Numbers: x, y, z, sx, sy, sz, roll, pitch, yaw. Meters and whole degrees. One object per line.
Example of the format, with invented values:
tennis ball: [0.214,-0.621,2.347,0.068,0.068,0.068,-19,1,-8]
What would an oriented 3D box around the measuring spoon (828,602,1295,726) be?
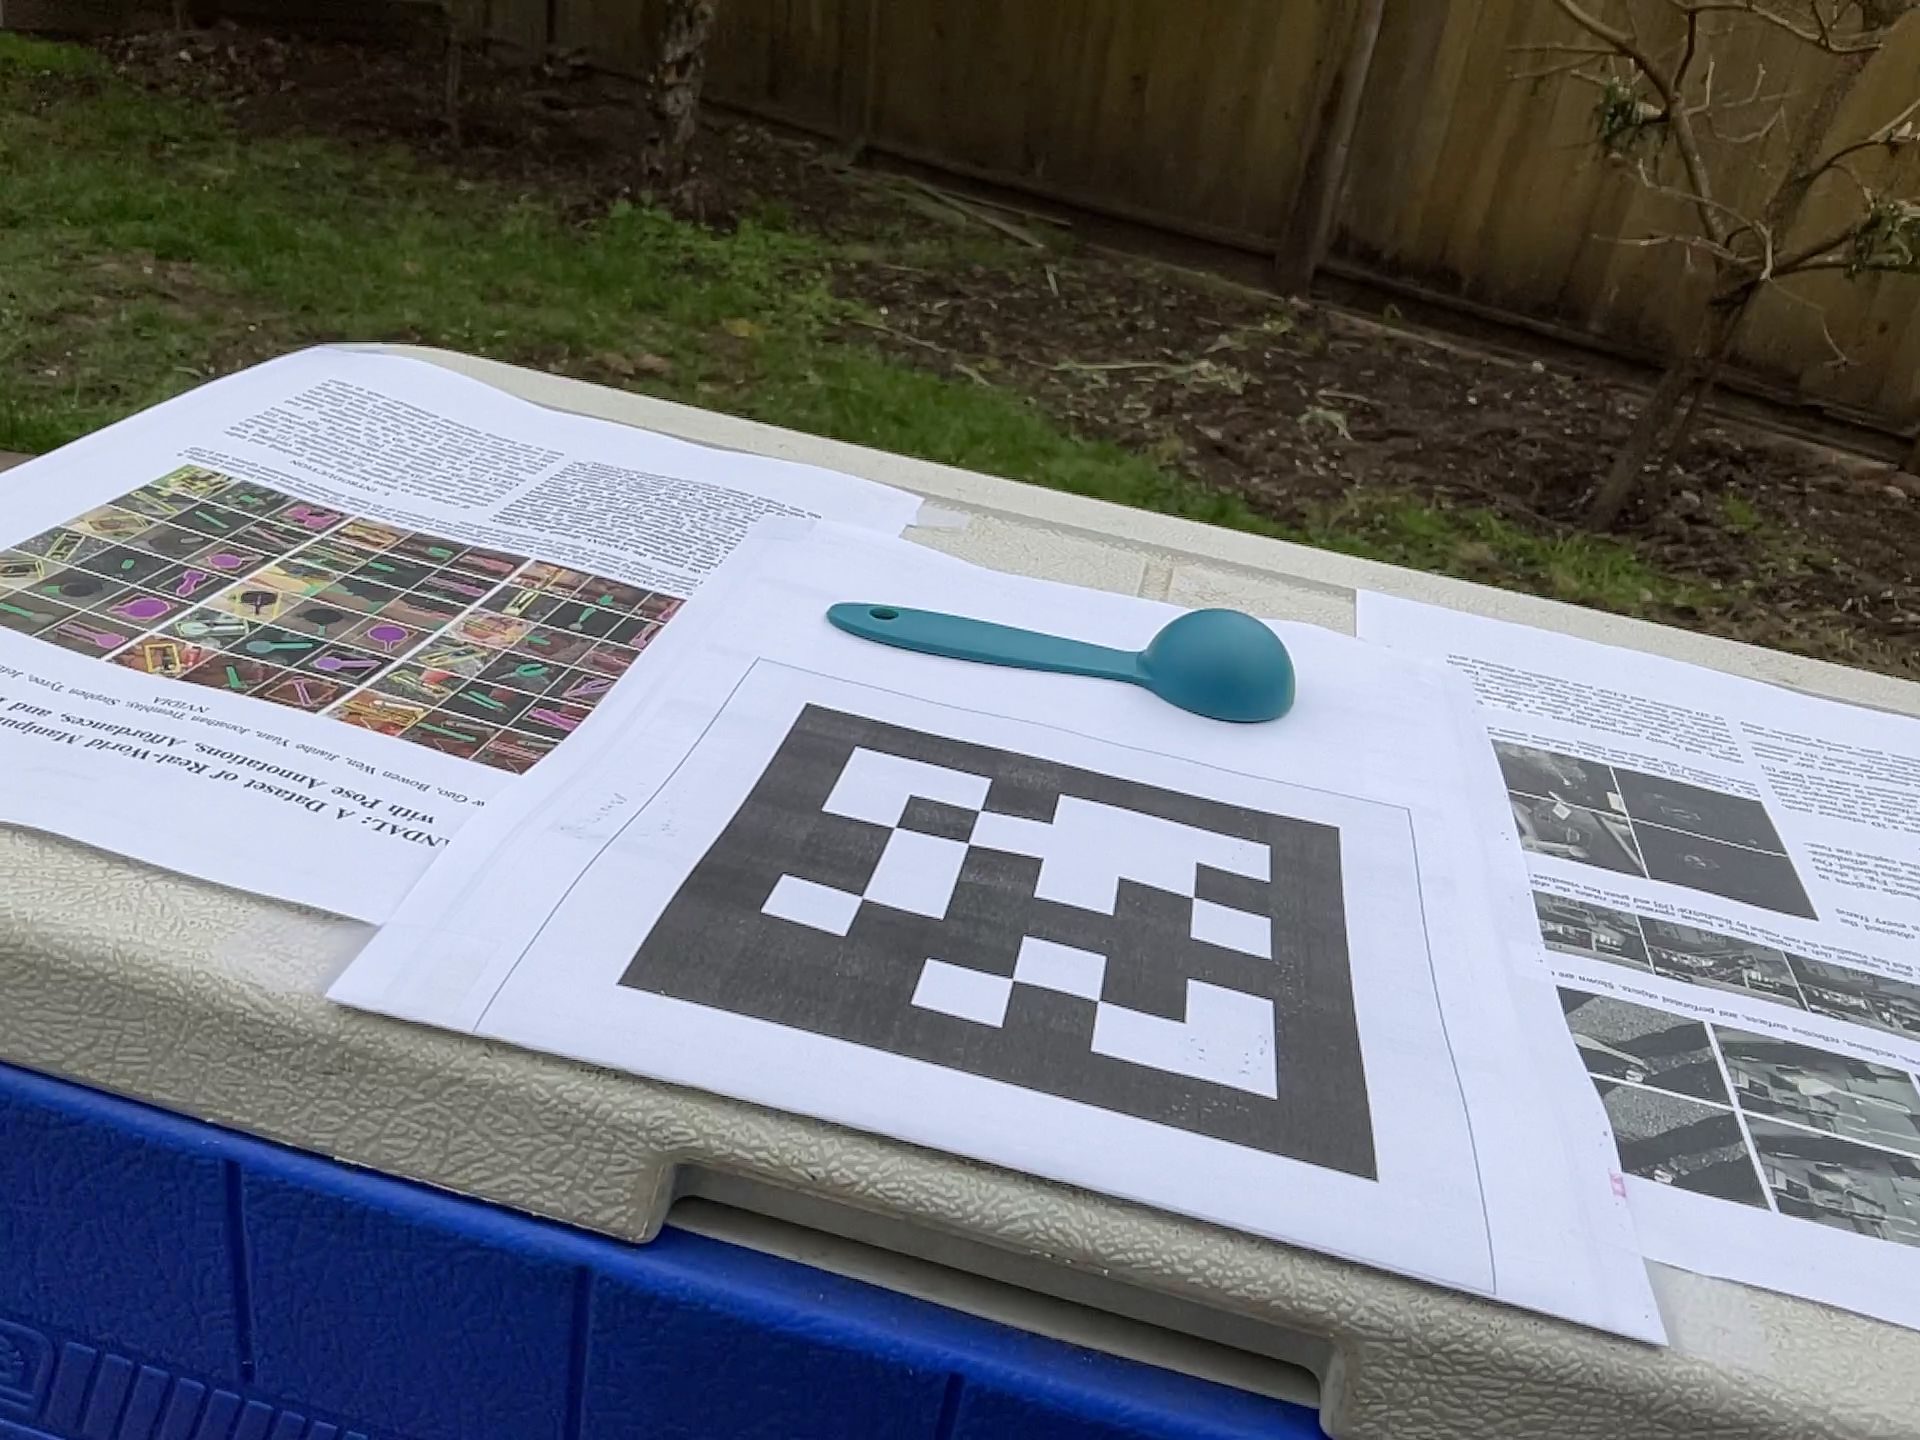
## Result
measuring spoon: [0.029,-0.025,0.431,0.128,0.021,0.042,9,32,-2]
